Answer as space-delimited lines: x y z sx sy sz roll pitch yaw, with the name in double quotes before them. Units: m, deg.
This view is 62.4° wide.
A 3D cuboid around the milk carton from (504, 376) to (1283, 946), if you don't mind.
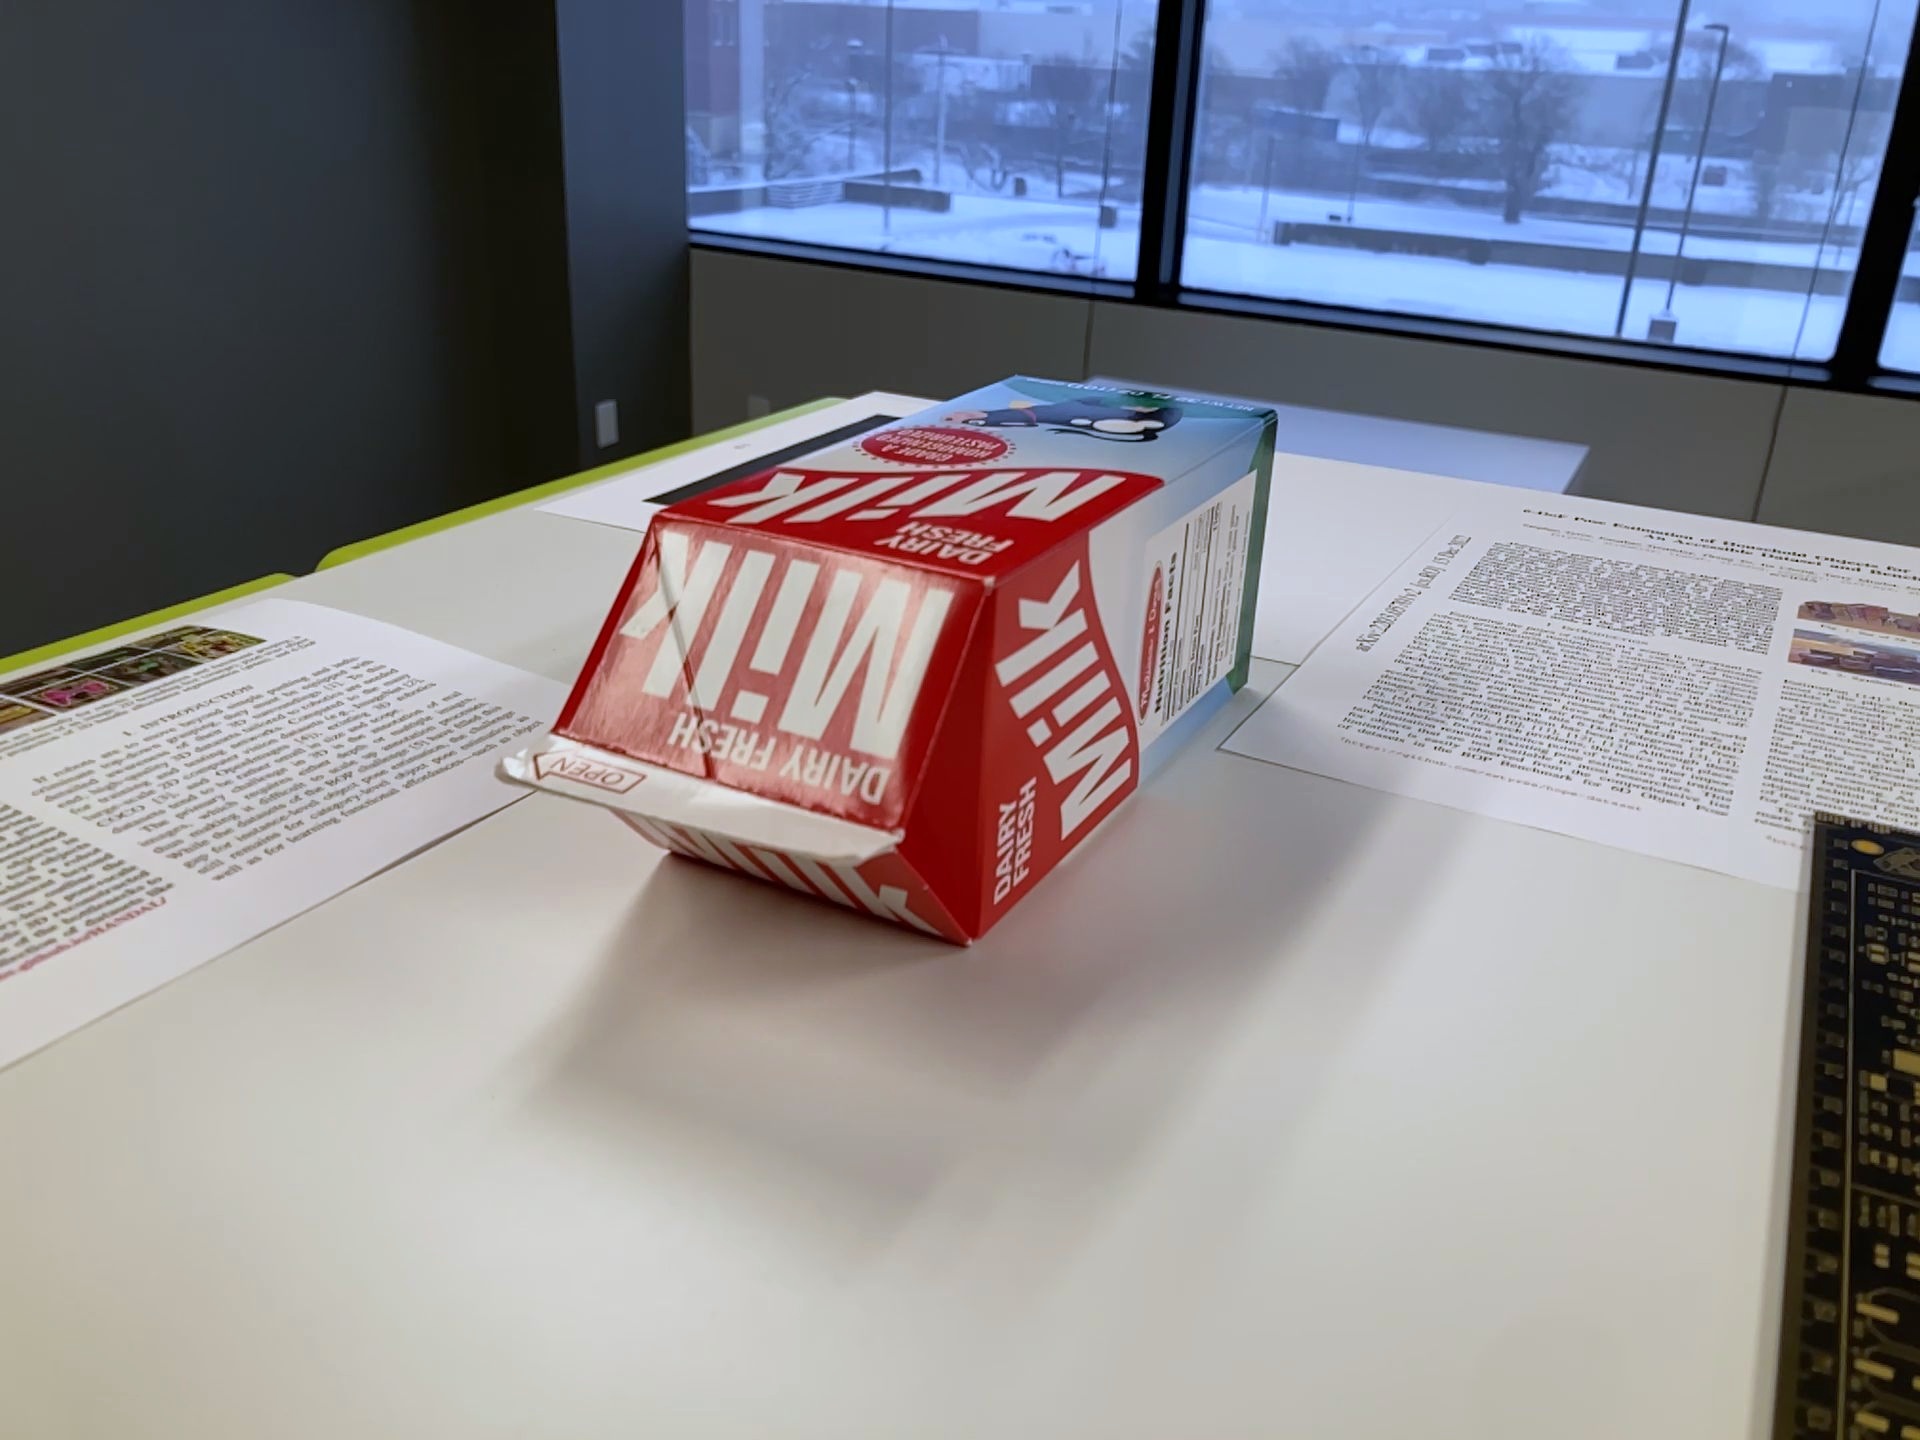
"milk carton" -0.001 -0.017 0.327 0.072 0.073 0.190 14 26 25
